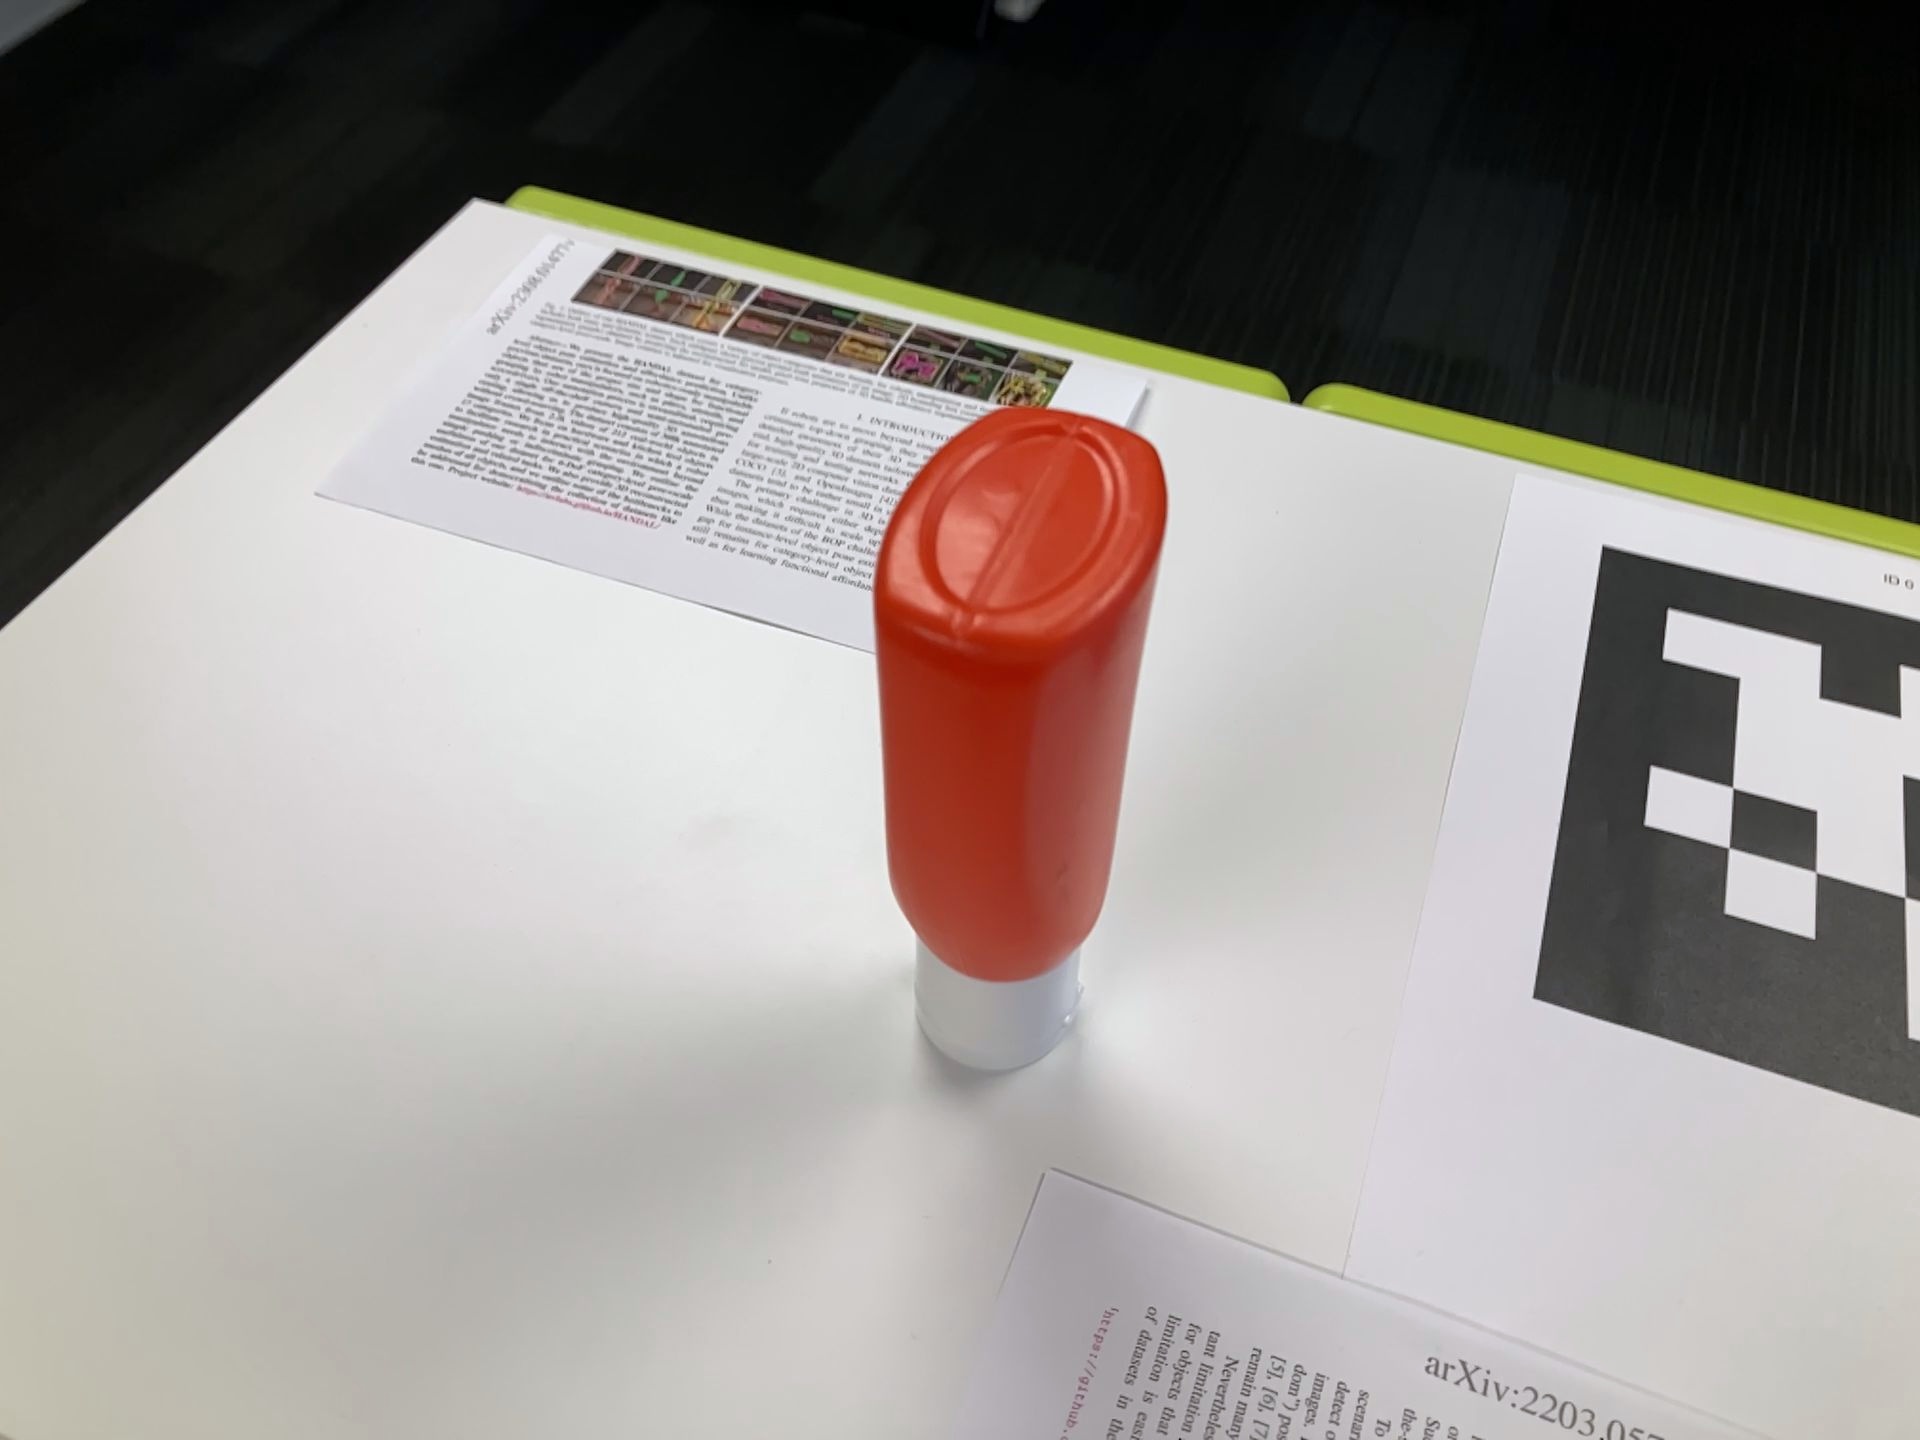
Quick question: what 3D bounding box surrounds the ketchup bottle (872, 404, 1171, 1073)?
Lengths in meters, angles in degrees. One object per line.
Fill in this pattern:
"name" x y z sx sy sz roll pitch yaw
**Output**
"ketchup bottle" 0.010 0.016 0.304 0.043 0.149 0.065 17 50 14
